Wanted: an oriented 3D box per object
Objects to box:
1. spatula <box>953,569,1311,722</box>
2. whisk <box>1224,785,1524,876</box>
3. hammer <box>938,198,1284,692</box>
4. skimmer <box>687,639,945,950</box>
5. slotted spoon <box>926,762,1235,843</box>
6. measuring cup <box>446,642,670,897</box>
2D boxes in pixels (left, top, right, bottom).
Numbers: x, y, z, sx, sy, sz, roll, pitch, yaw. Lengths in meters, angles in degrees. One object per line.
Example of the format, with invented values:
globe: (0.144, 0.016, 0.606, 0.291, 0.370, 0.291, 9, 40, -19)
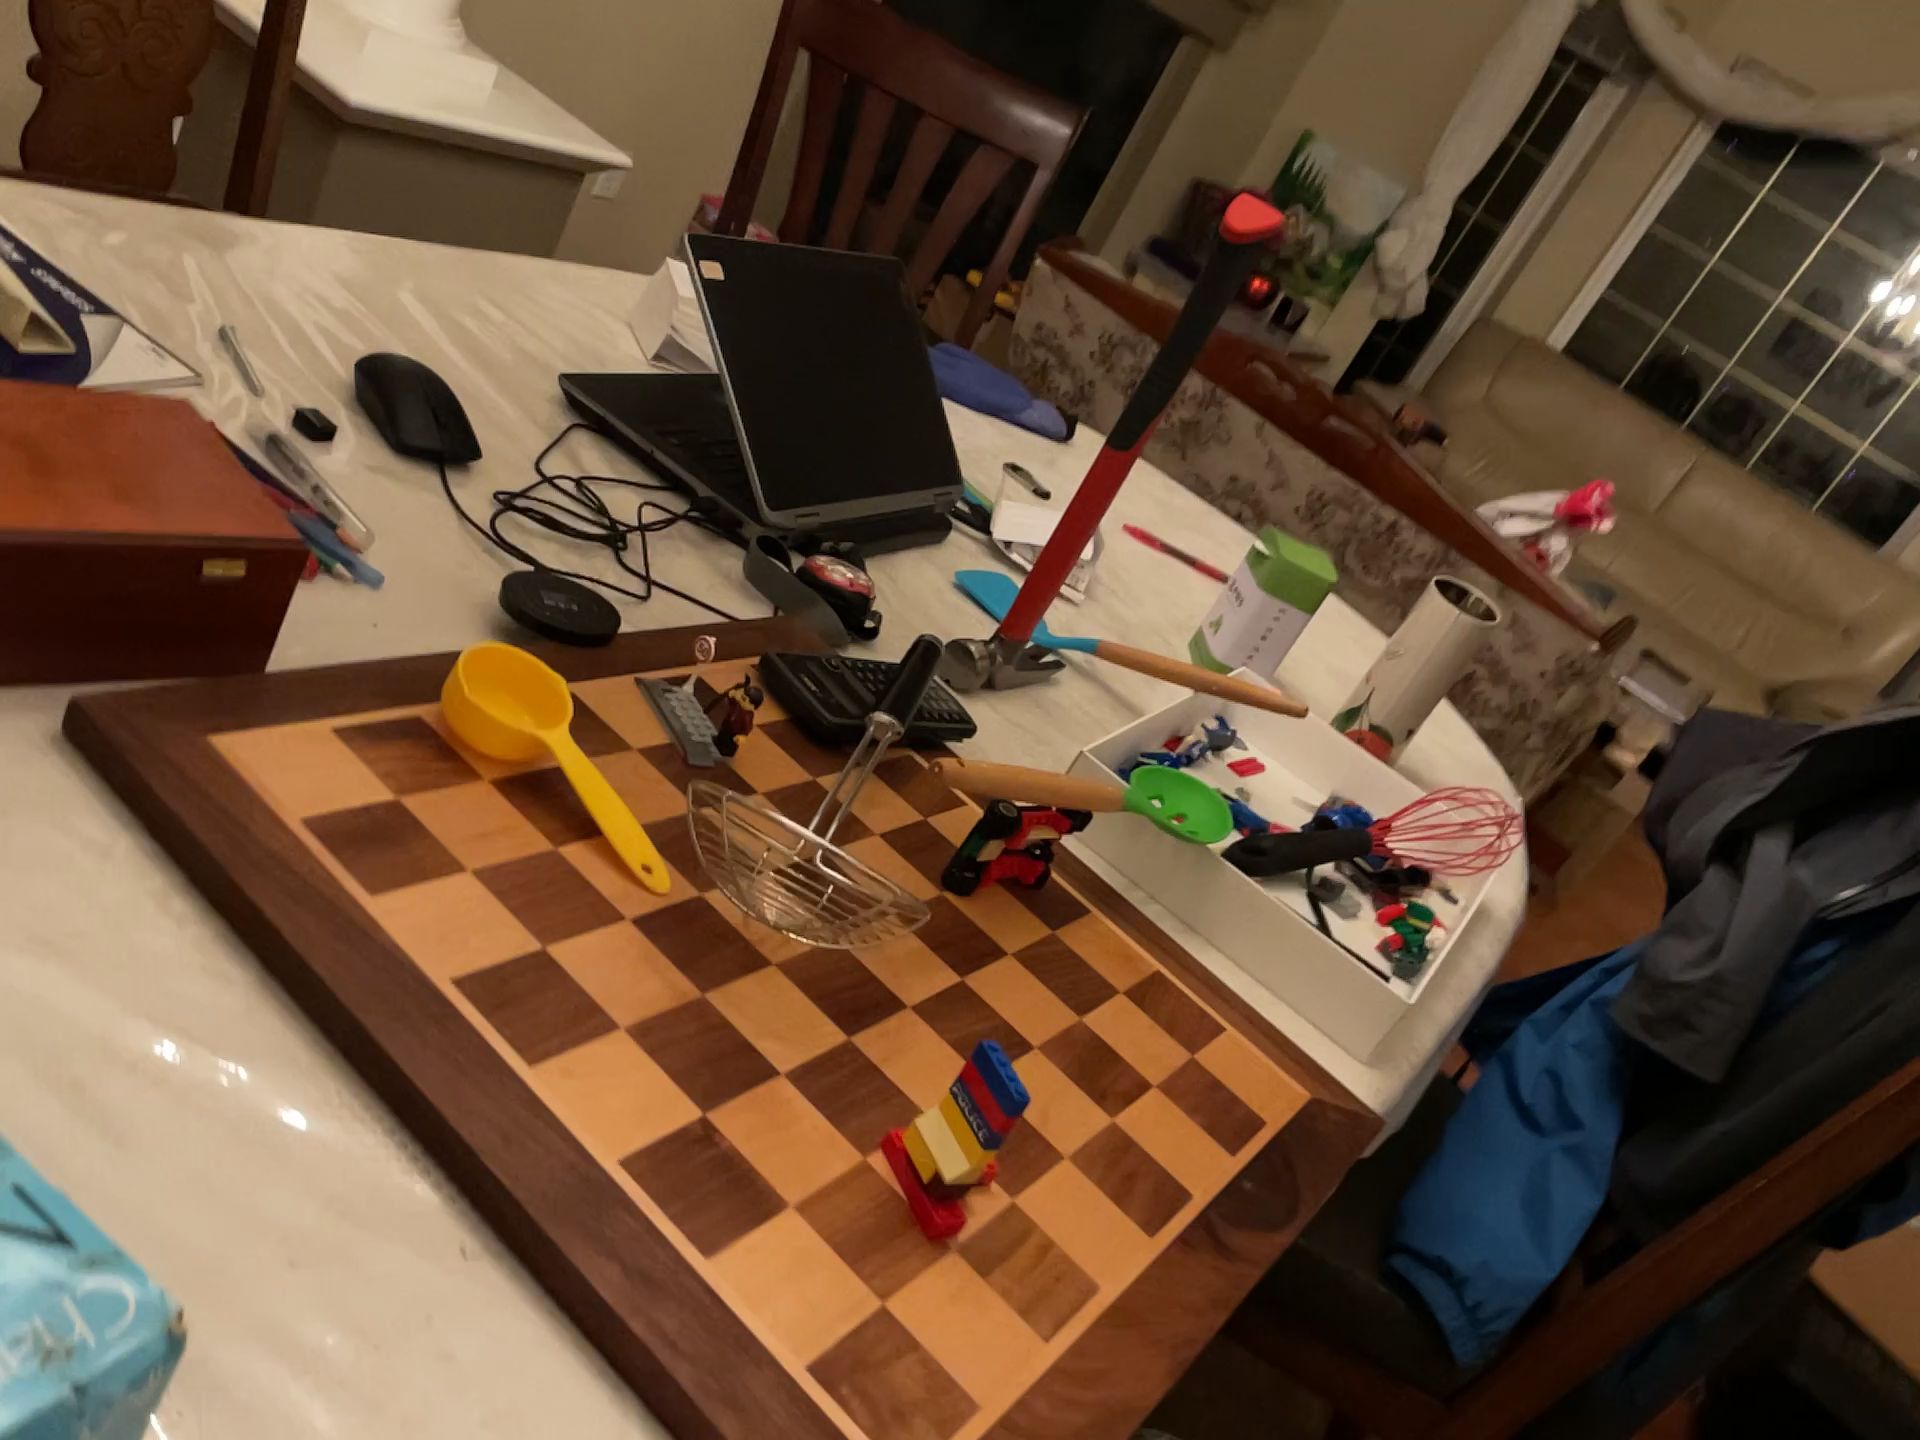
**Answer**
spatula: (0.135, -0.060, 1.266, 0.318, 0.044, 0.082, 20, 14, 32)
whisk: (0.314, 0.091, 1.192, 0.295, 0.073, 0.073, -3, 20, -31)
hammer: (0.118, -0.184, 1.131, 0.038, 0.386, 0.143, 41, 26, 22)
skimmer: (-0.044, 0.010, 0.857, 0.127, 0.090, 0.363, 28, 28, -1)
slotted spoon: (0.073, 0.042, 0.899, 0.070, 0.031, 0.313, 47, 19, 28)
measuring cup: (-0.190, 0.029, 0.756, 0.157, 0.029, 0.062, 52, 26, 14)
